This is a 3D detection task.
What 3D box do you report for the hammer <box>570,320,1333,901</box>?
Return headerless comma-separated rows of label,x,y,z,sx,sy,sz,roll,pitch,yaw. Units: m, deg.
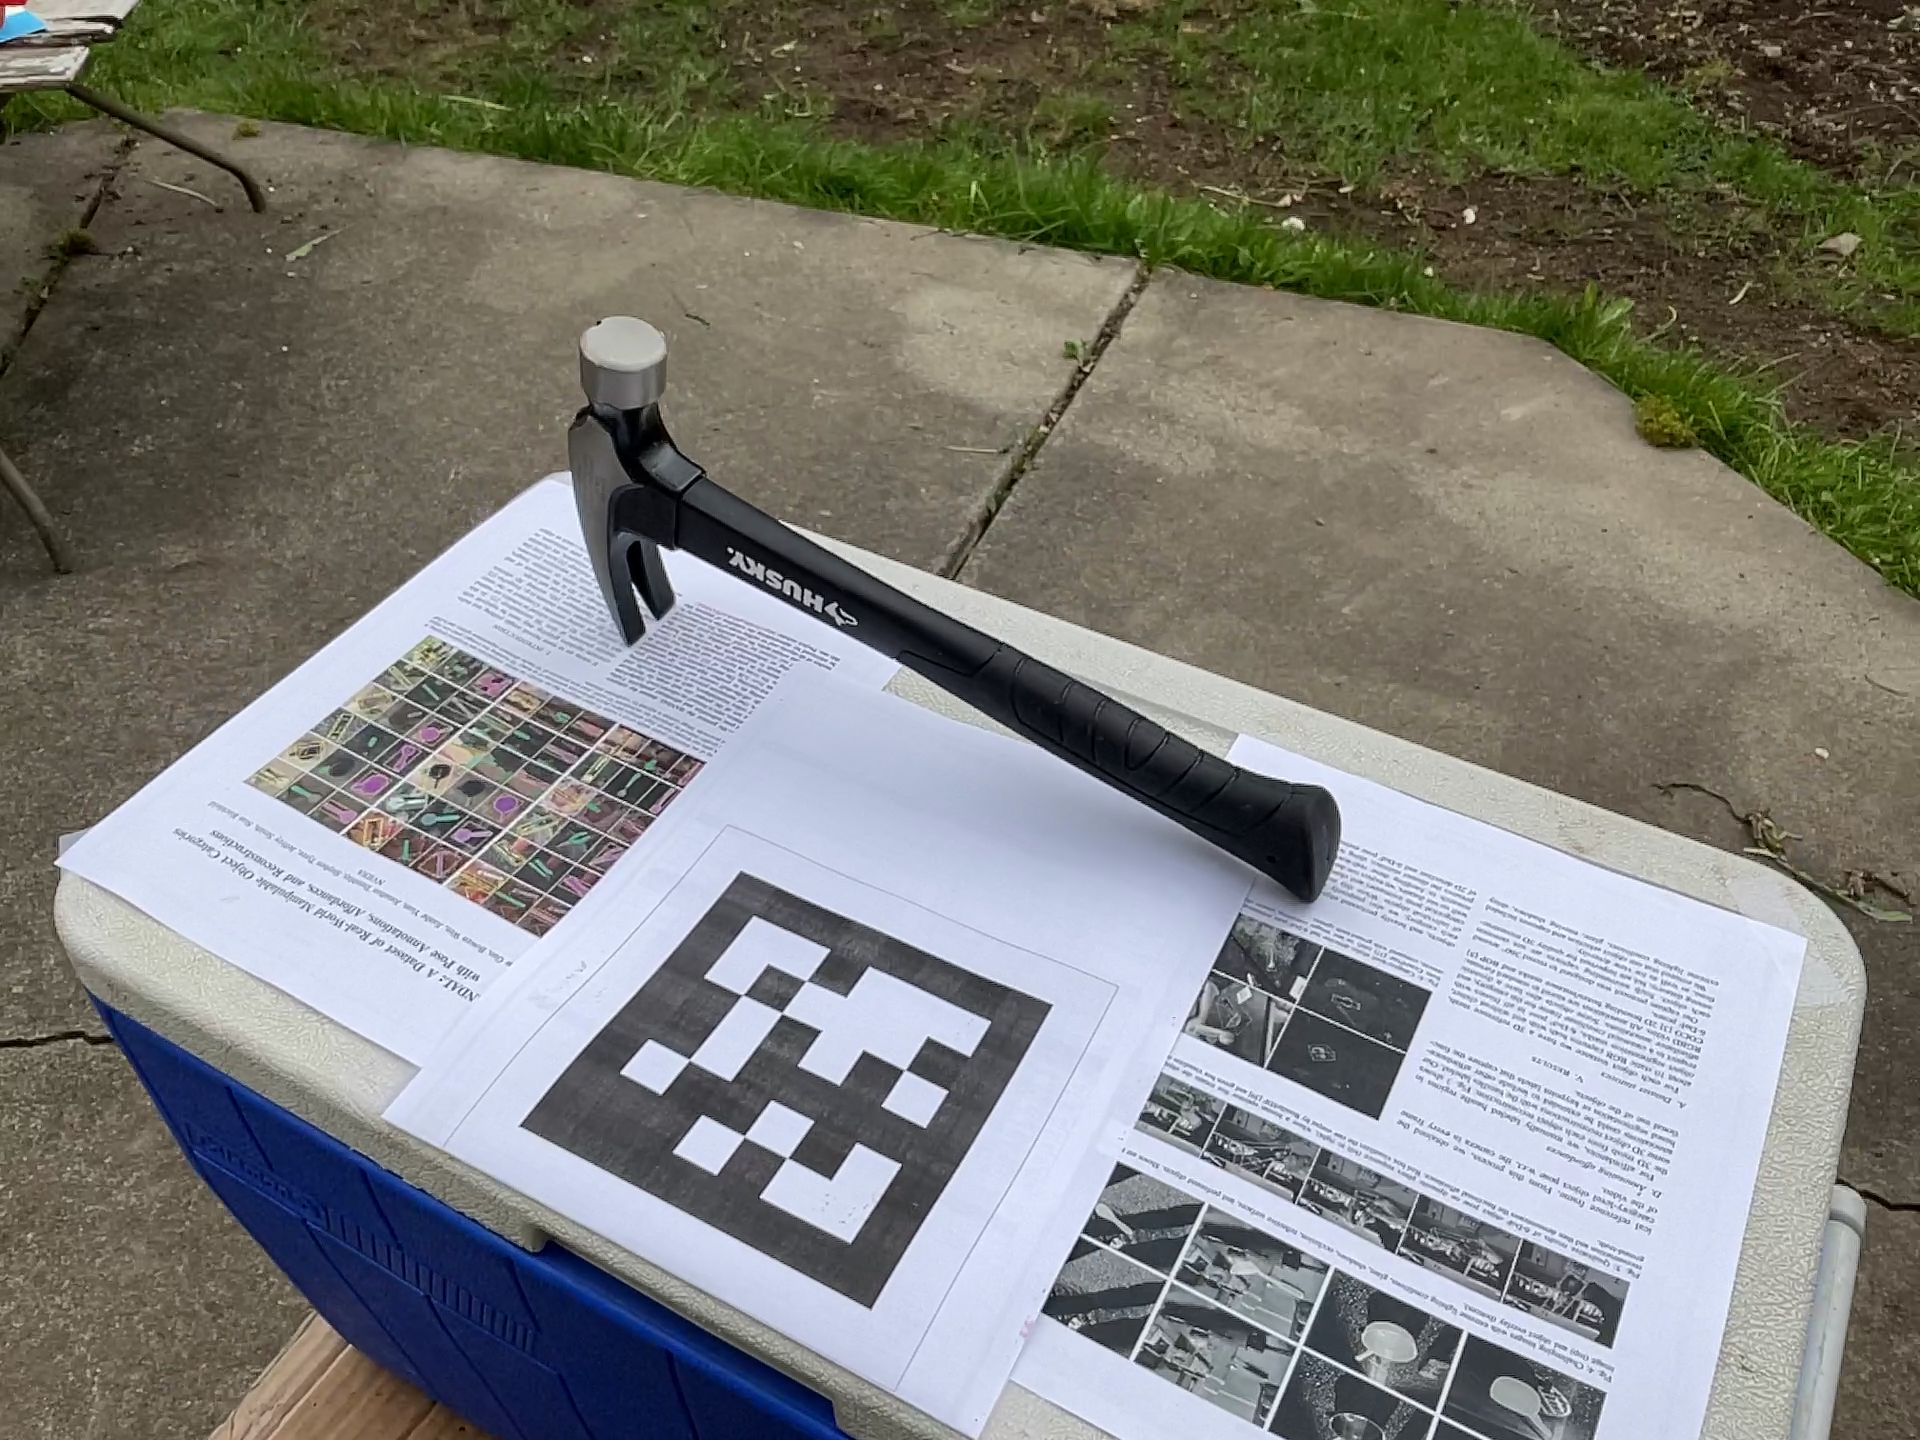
hammer,-0.009,-0.024,0.623,0.335,0.146,0.035,29,51,12
